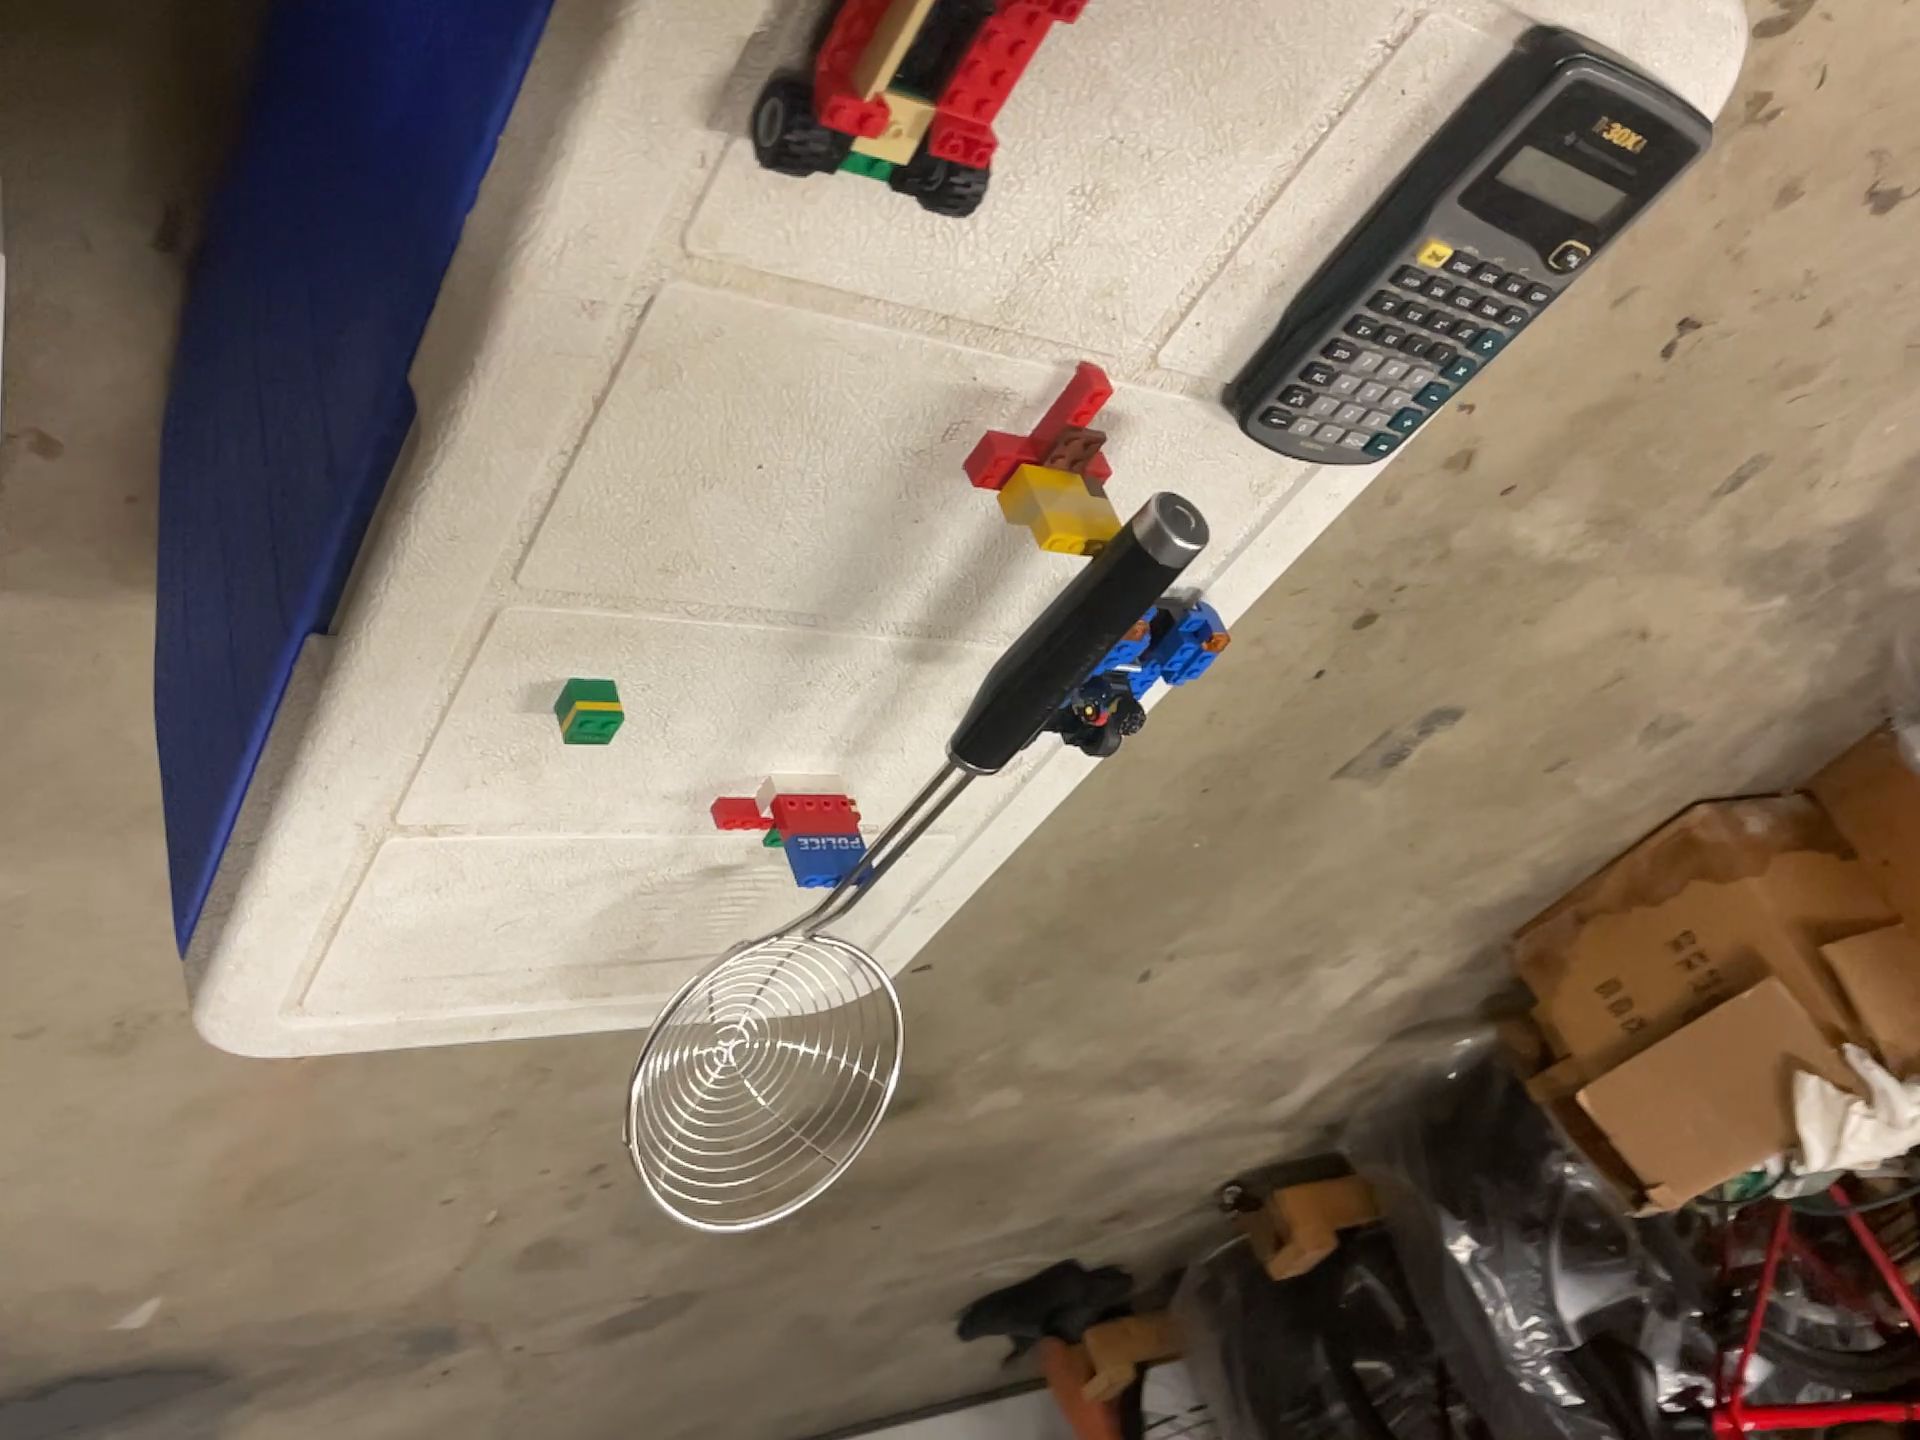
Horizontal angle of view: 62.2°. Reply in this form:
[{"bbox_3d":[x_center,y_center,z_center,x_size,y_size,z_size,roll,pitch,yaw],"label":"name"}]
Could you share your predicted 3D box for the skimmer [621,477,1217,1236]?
[{"bbox_3d":[-0.013,0.068,0.558,0.127,0.090,0.362,1,143,-37],"label":"skimmer"}]
